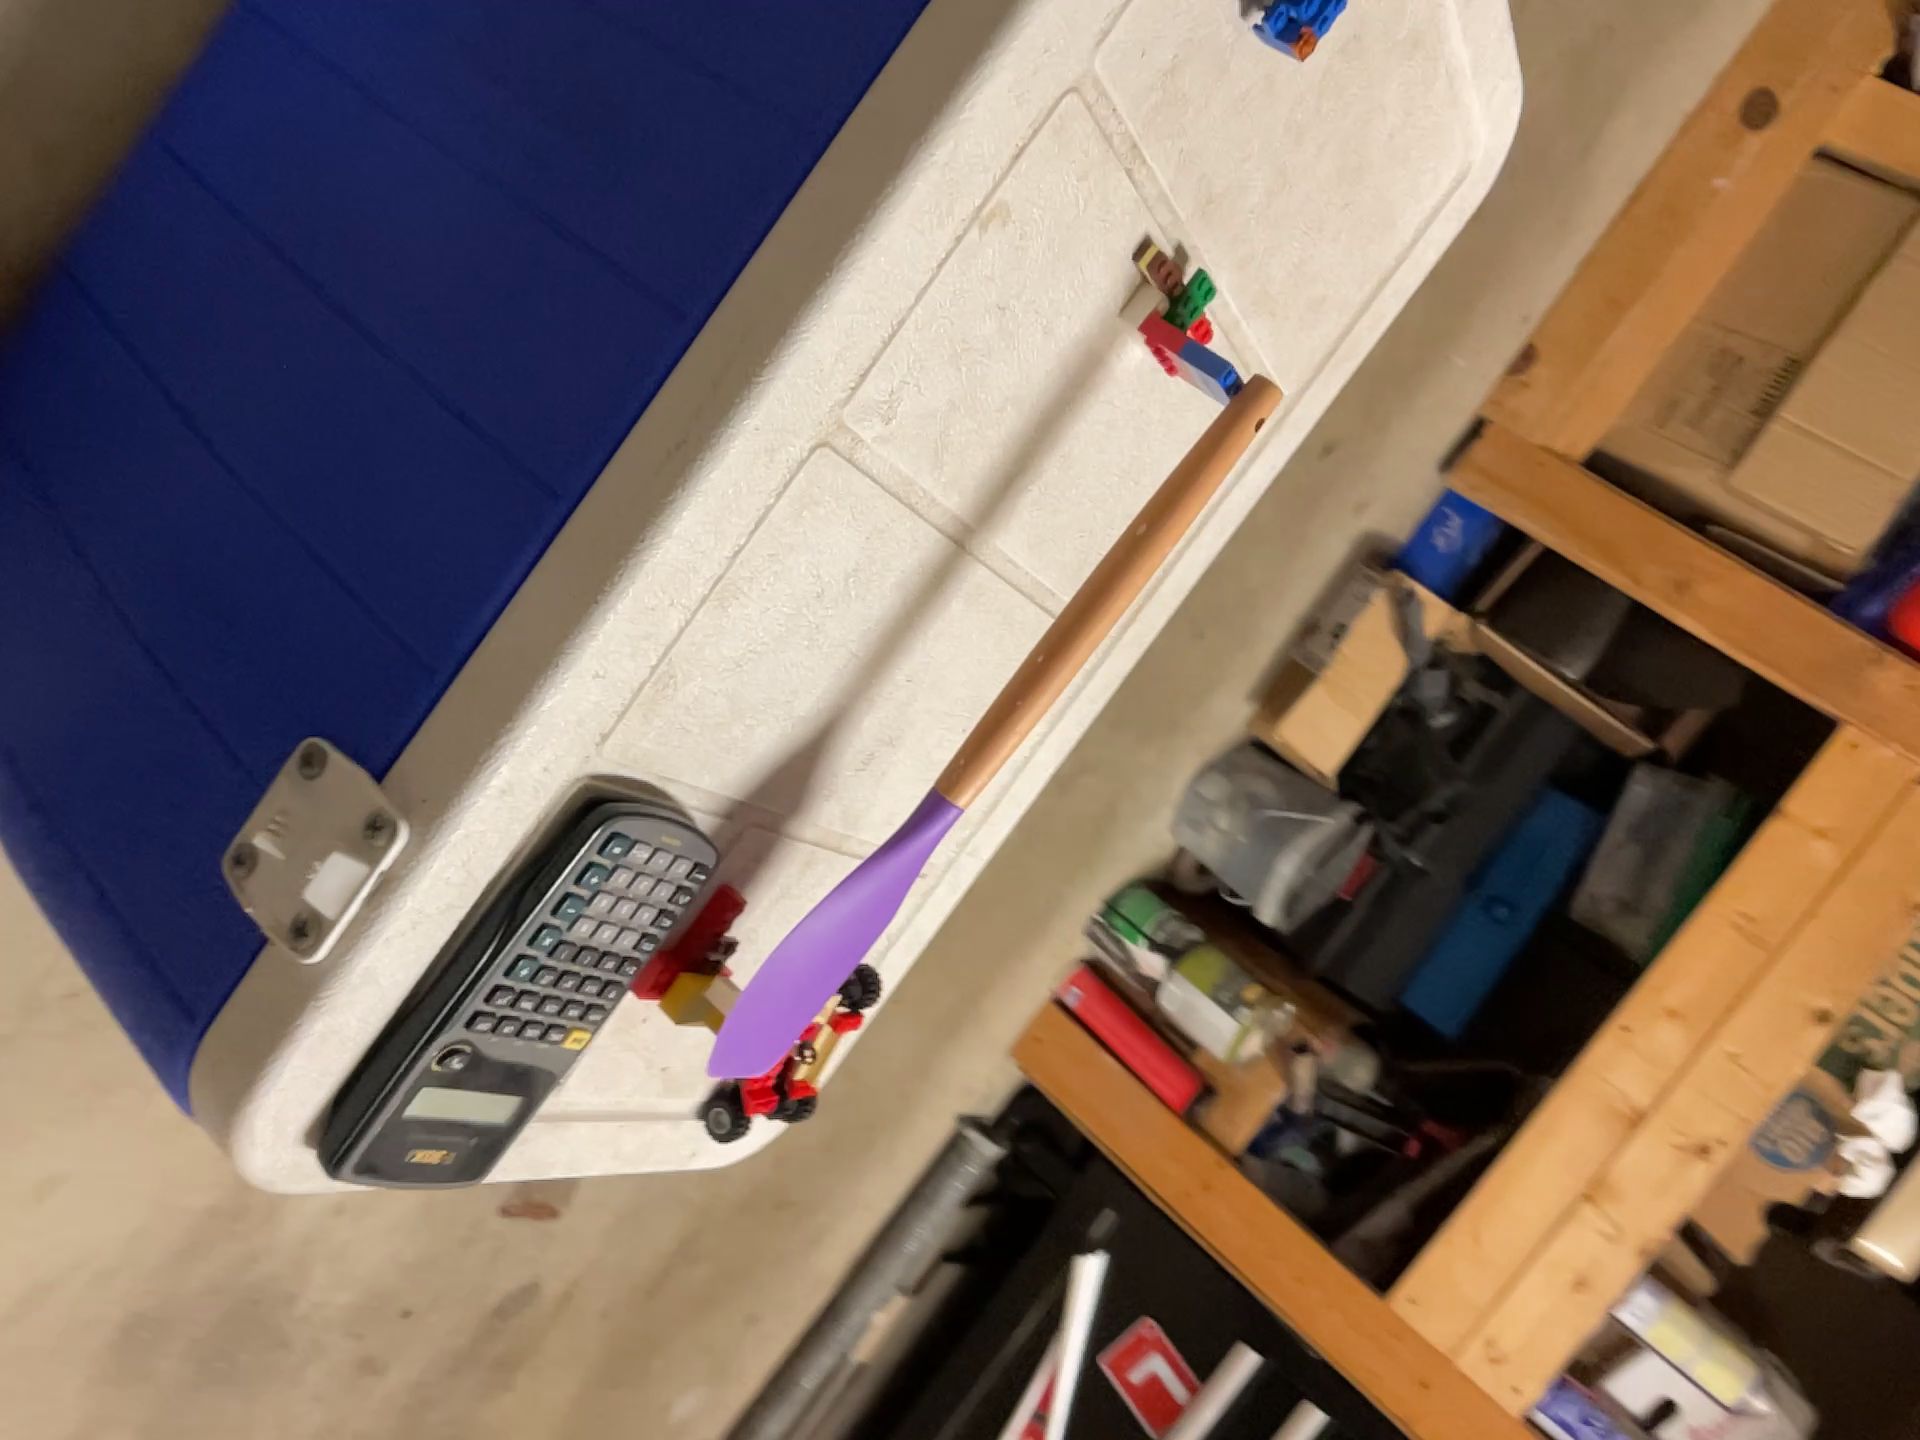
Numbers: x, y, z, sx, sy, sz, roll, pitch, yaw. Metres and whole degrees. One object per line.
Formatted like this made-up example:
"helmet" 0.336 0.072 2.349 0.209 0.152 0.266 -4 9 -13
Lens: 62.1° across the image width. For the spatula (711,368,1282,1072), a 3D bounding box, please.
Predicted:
"spatula" 0.012 0.005 0.570 0.316 0.018 0.060 -52 154 5
